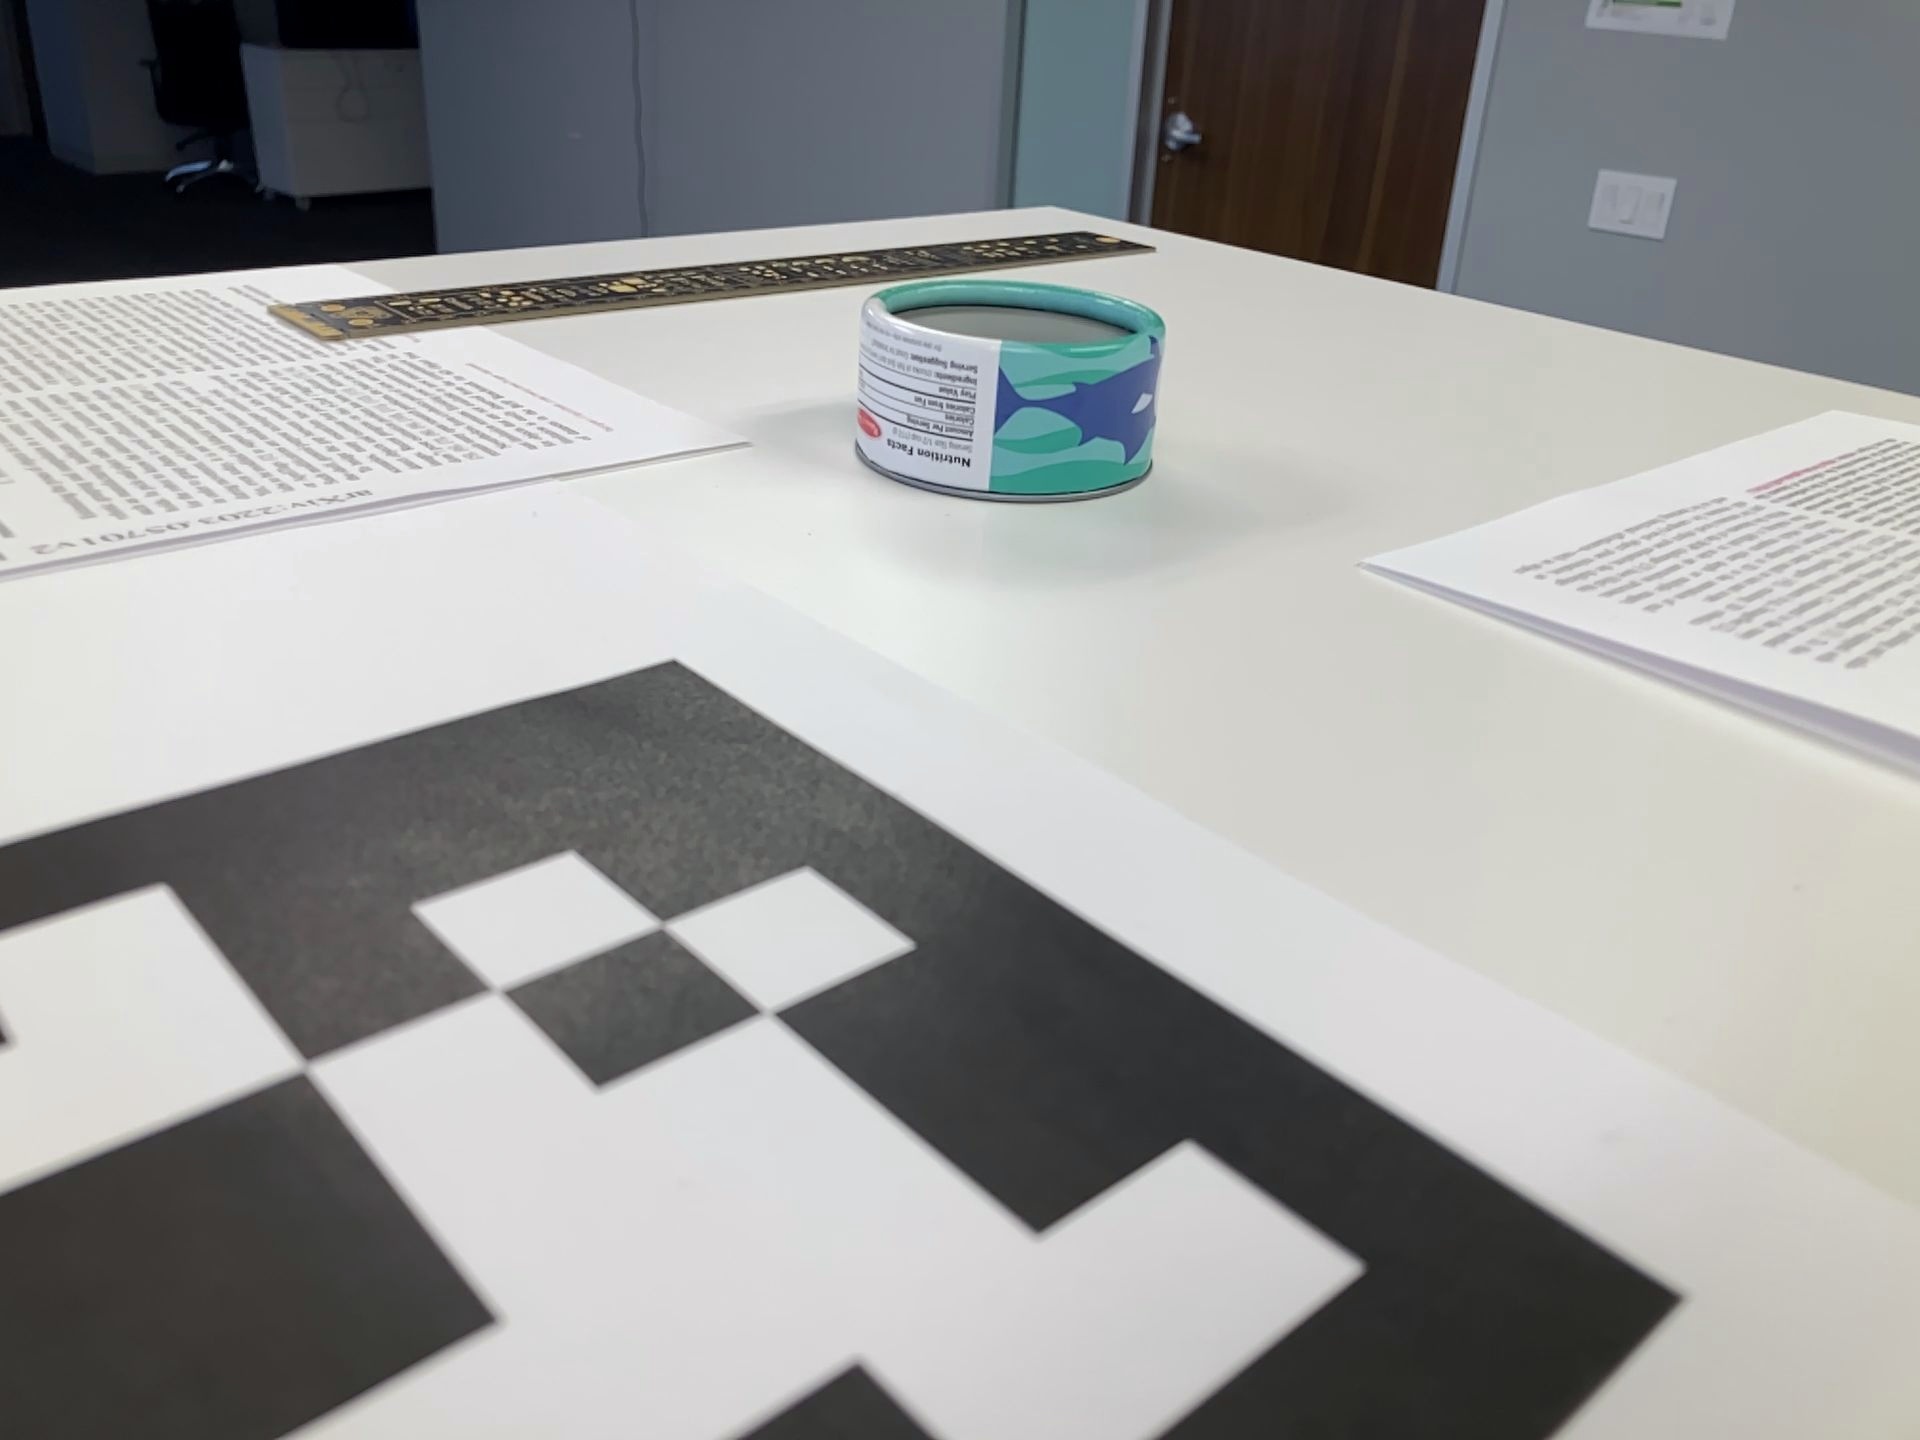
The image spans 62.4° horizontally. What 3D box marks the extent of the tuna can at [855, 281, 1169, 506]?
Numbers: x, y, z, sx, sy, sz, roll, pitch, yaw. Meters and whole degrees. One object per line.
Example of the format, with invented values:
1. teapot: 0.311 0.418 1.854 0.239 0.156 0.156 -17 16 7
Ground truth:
1. tuna can: 0.013 -0.073 0.346 0.071 0.033 0.071 4 26 -2
